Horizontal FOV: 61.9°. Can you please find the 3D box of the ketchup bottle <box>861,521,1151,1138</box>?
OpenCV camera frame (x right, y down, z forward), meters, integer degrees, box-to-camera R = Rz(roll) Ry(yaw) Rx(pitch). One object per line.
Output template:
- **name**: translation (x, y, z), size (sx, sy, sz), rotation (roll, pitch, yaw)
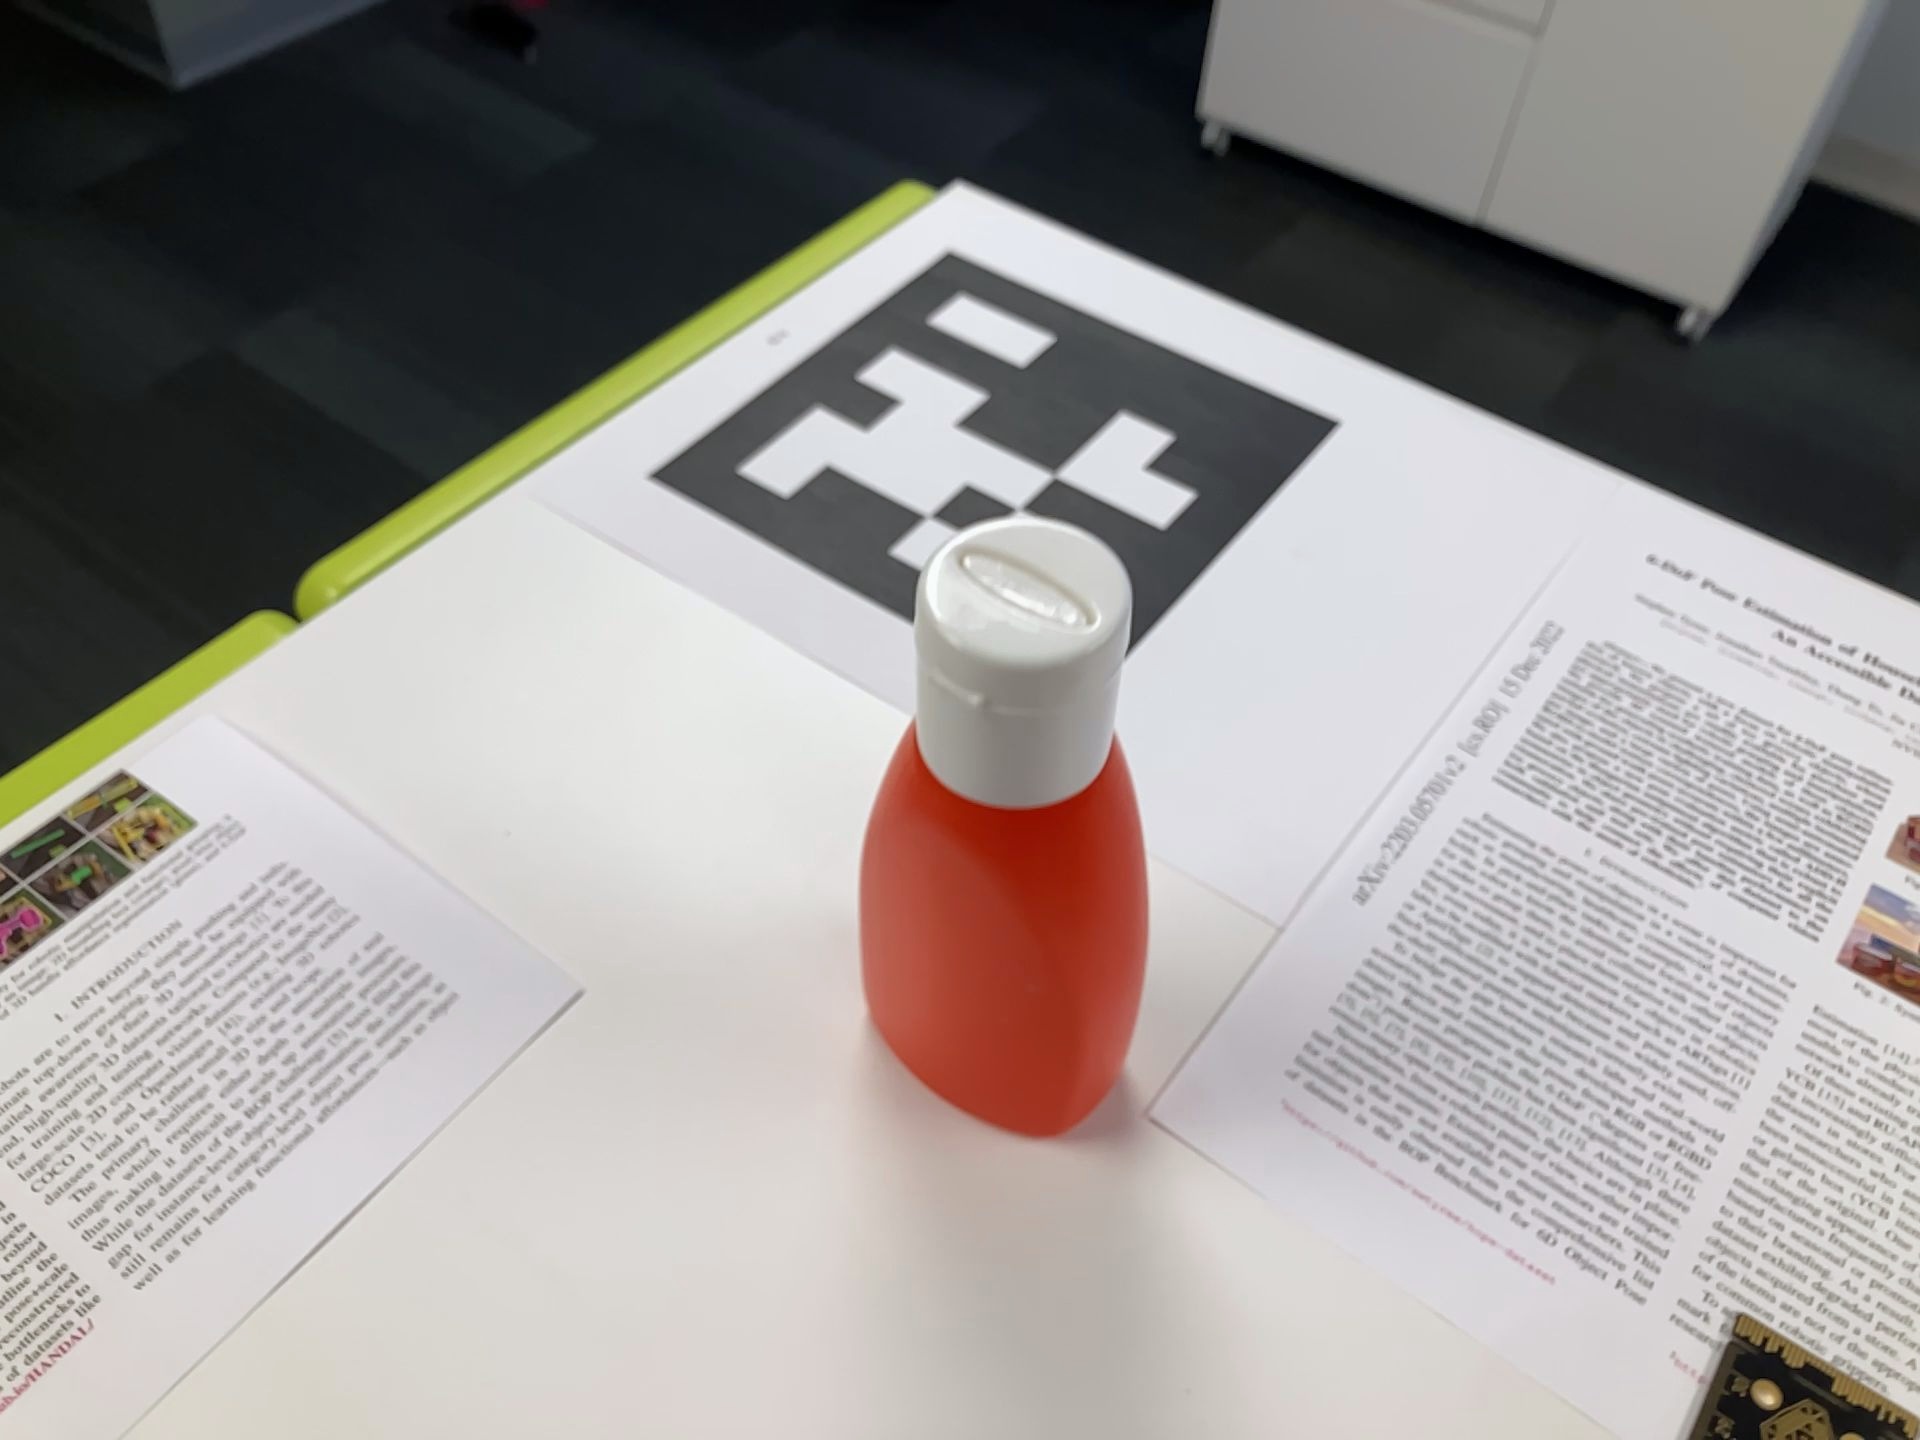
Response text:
- **ketchup bottle**: translation (0.009, 0.027, 0.320), size (0.065, 0.149, 0.043), rotation (31, 56, 23)
